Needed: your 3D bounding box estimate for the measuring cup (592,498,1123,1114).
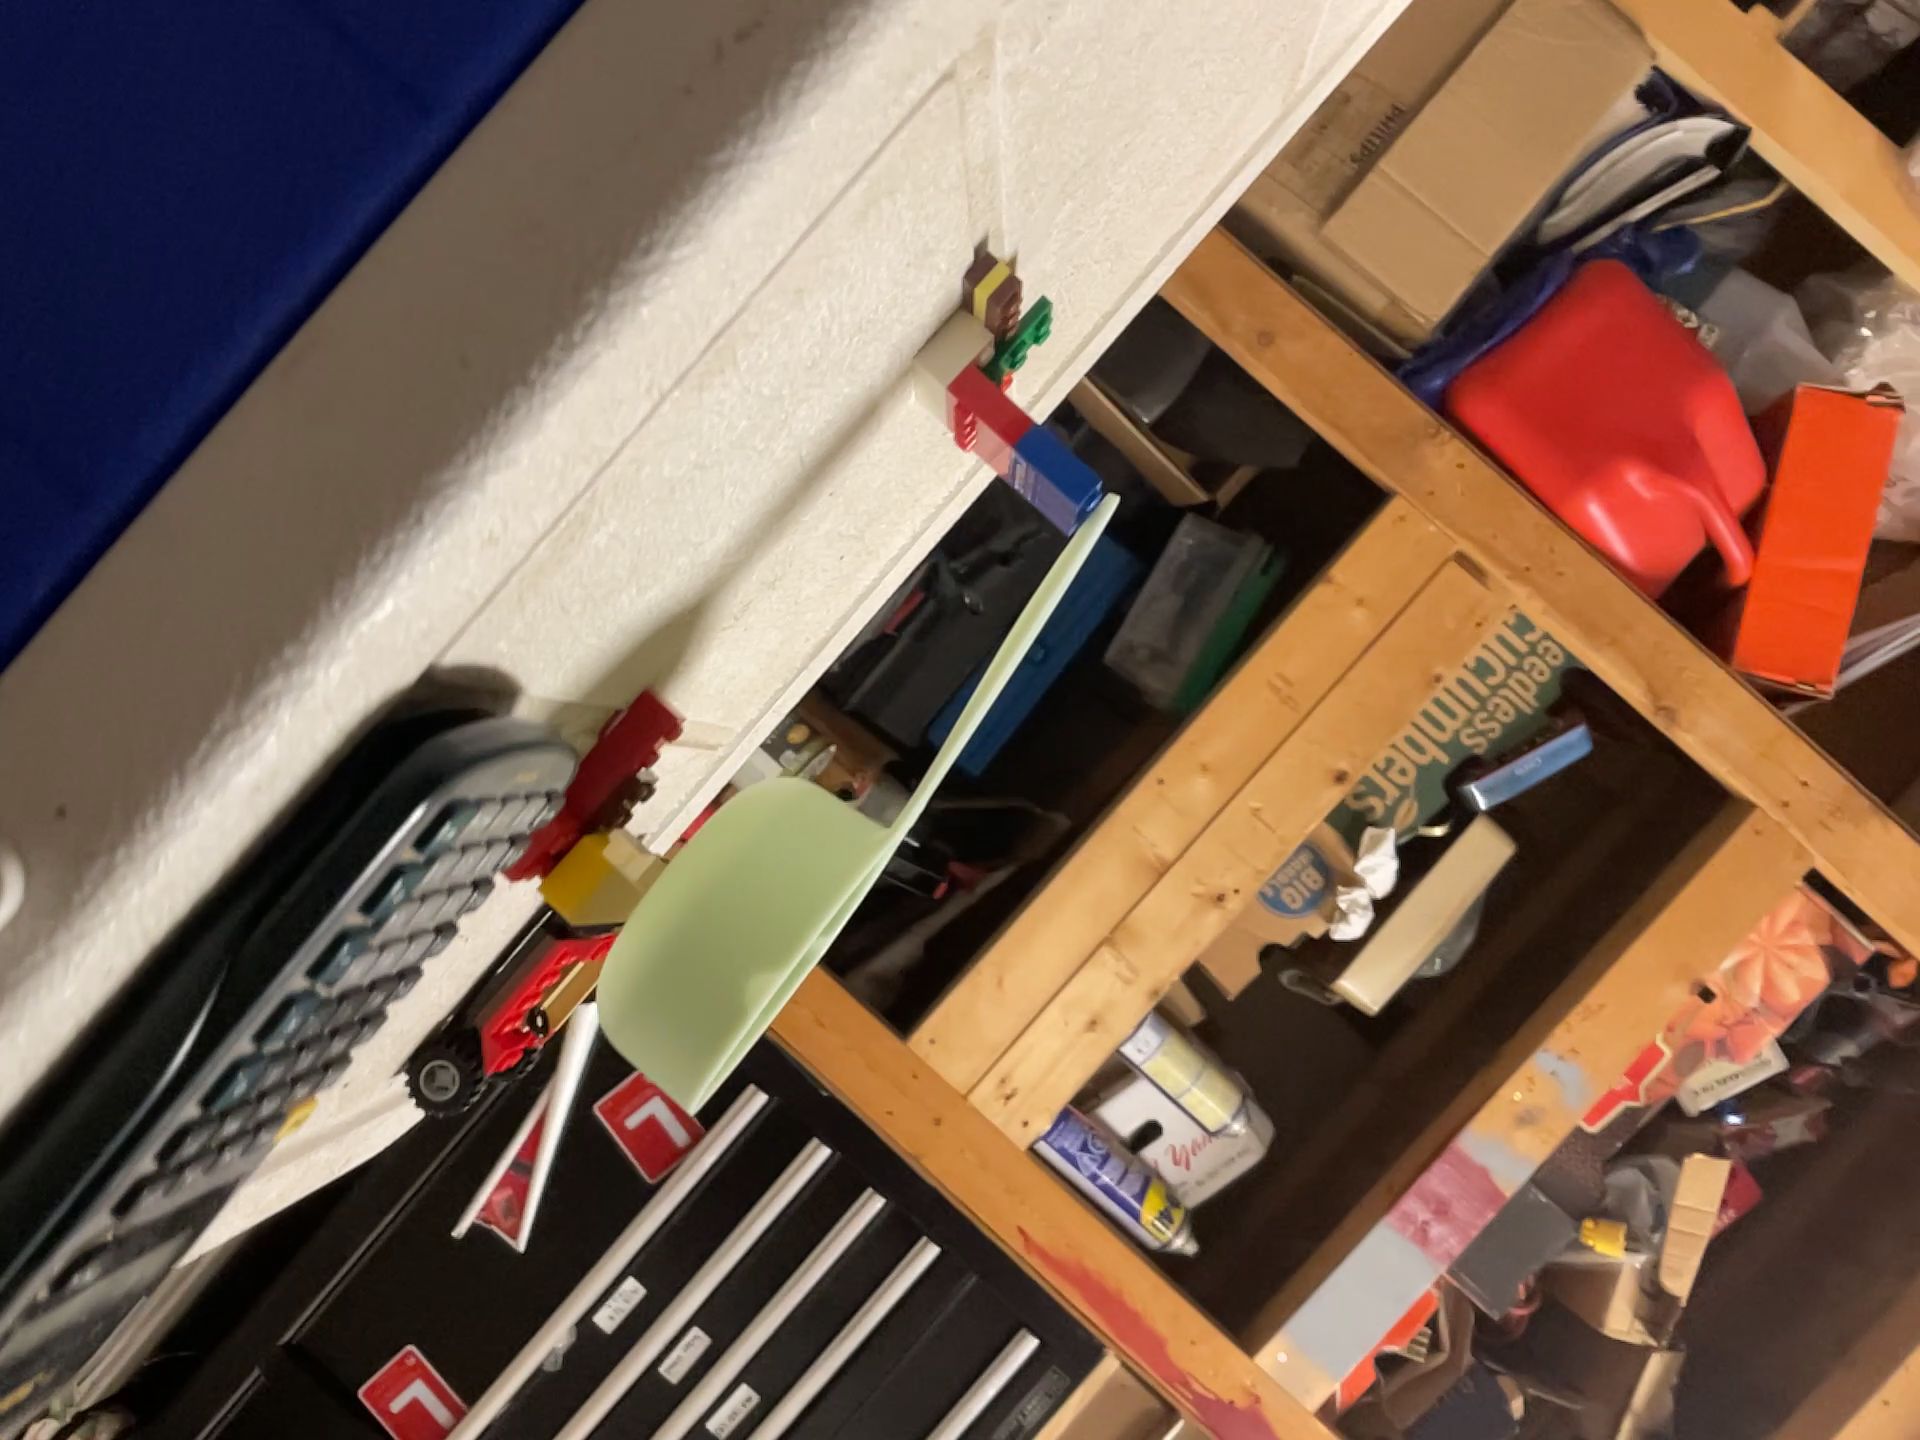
[{"bbox_3d":[-0.025,0.011,0.363,0.167,0.038,0.083,-55,175,2],"label":"measuring cup"}]
